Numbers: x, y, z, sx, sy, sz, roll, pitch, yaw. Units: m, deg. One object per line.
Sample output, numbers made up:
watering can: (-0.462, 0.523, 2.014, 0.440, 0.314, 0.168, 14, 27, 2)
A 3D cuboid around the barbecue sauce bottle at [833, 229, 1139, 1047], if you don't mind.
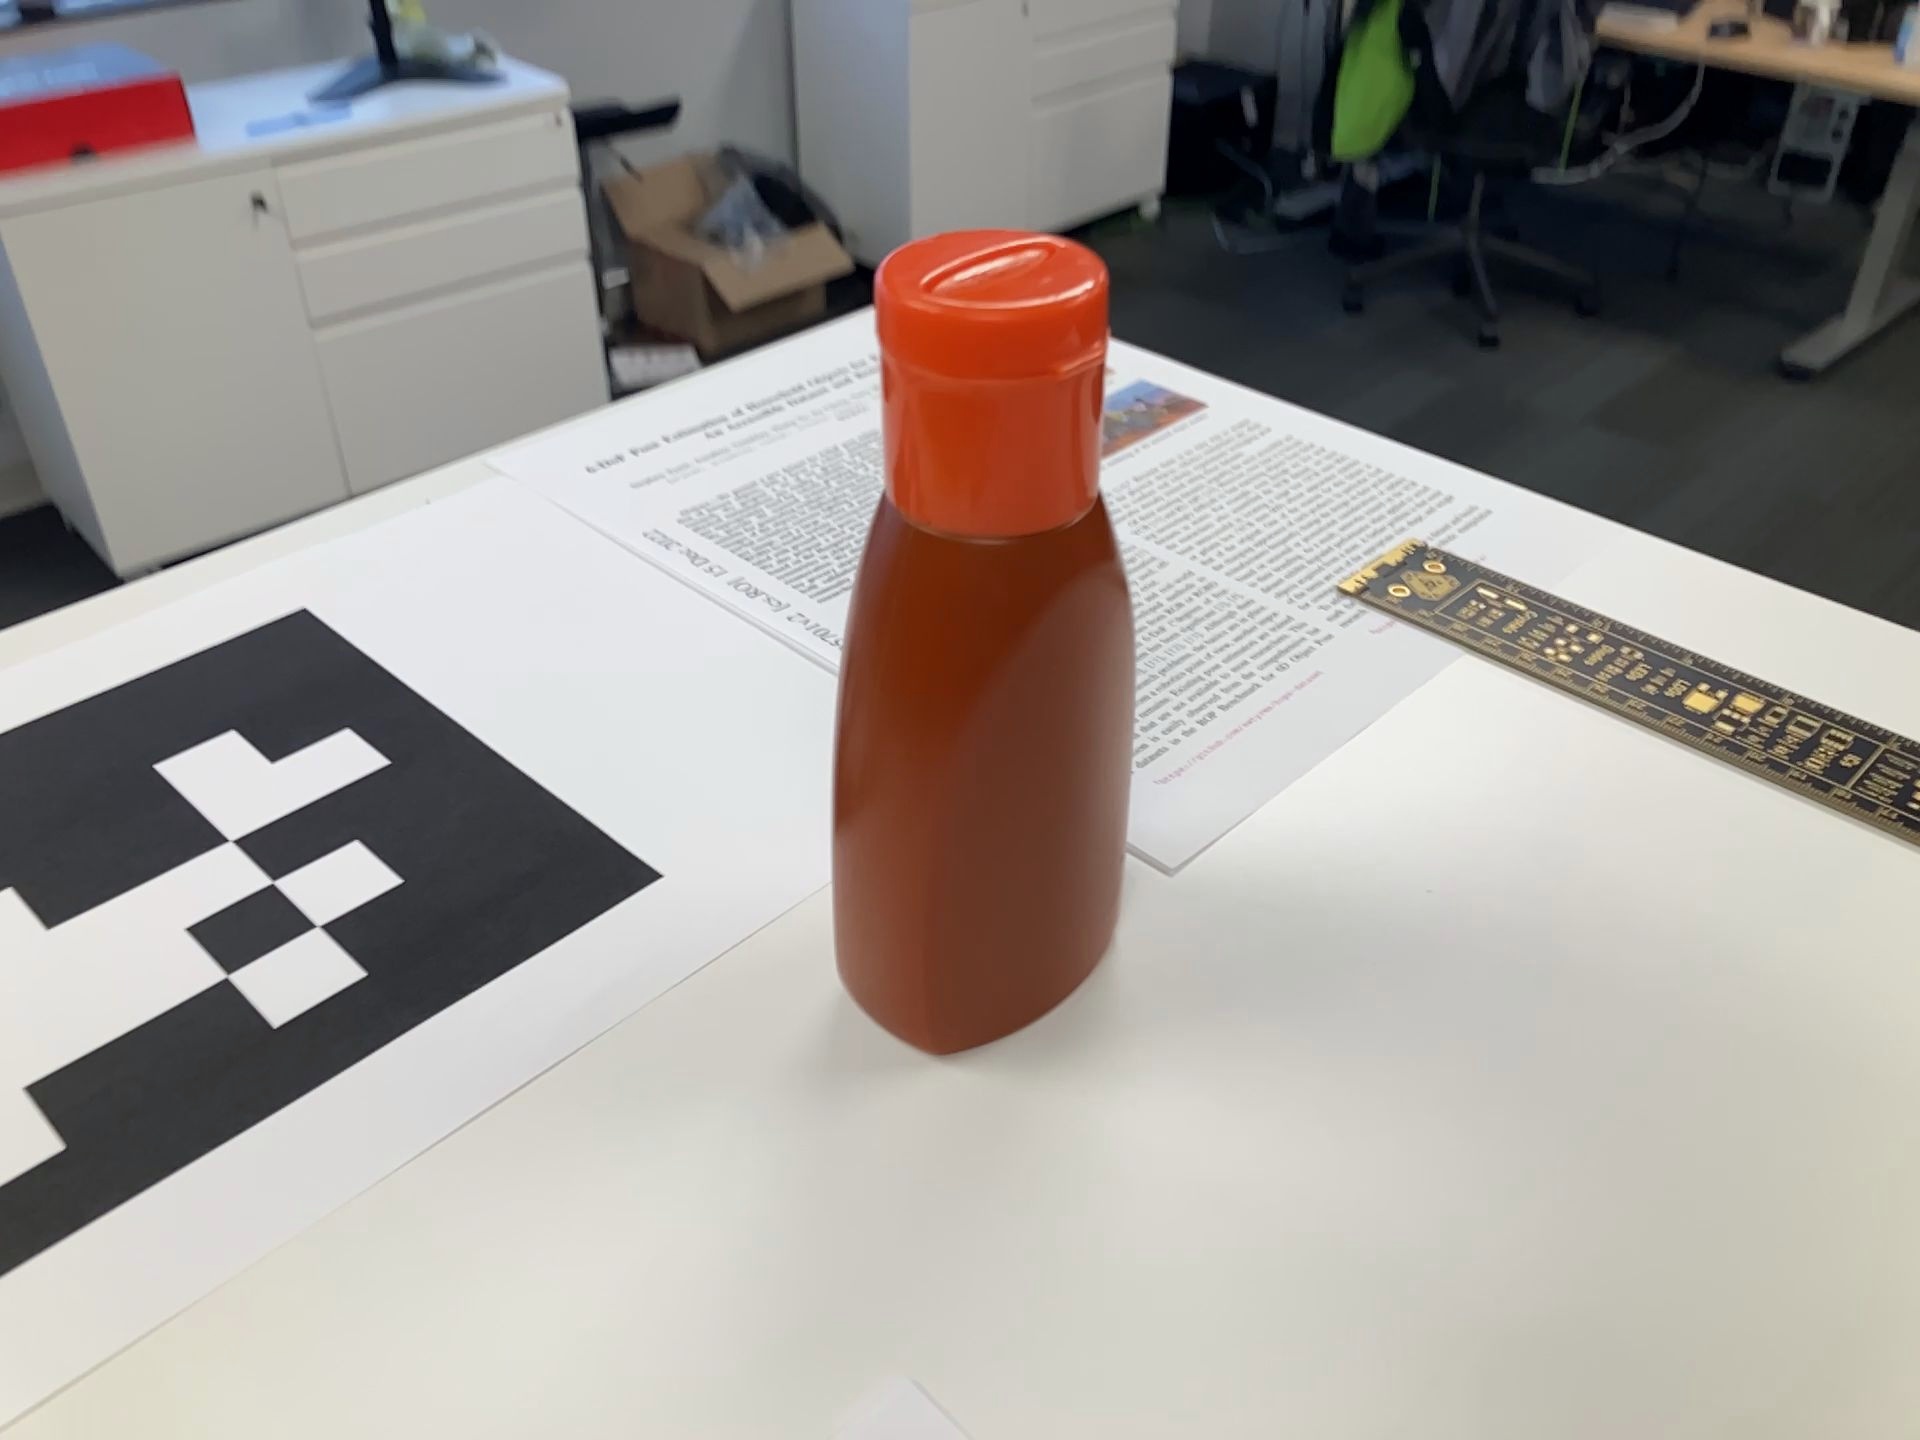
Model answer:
barbecue sauce bottle: (0.006, -0.011, 0.290, 0.065, 0.148, 0.043, -30, 46, -35)
